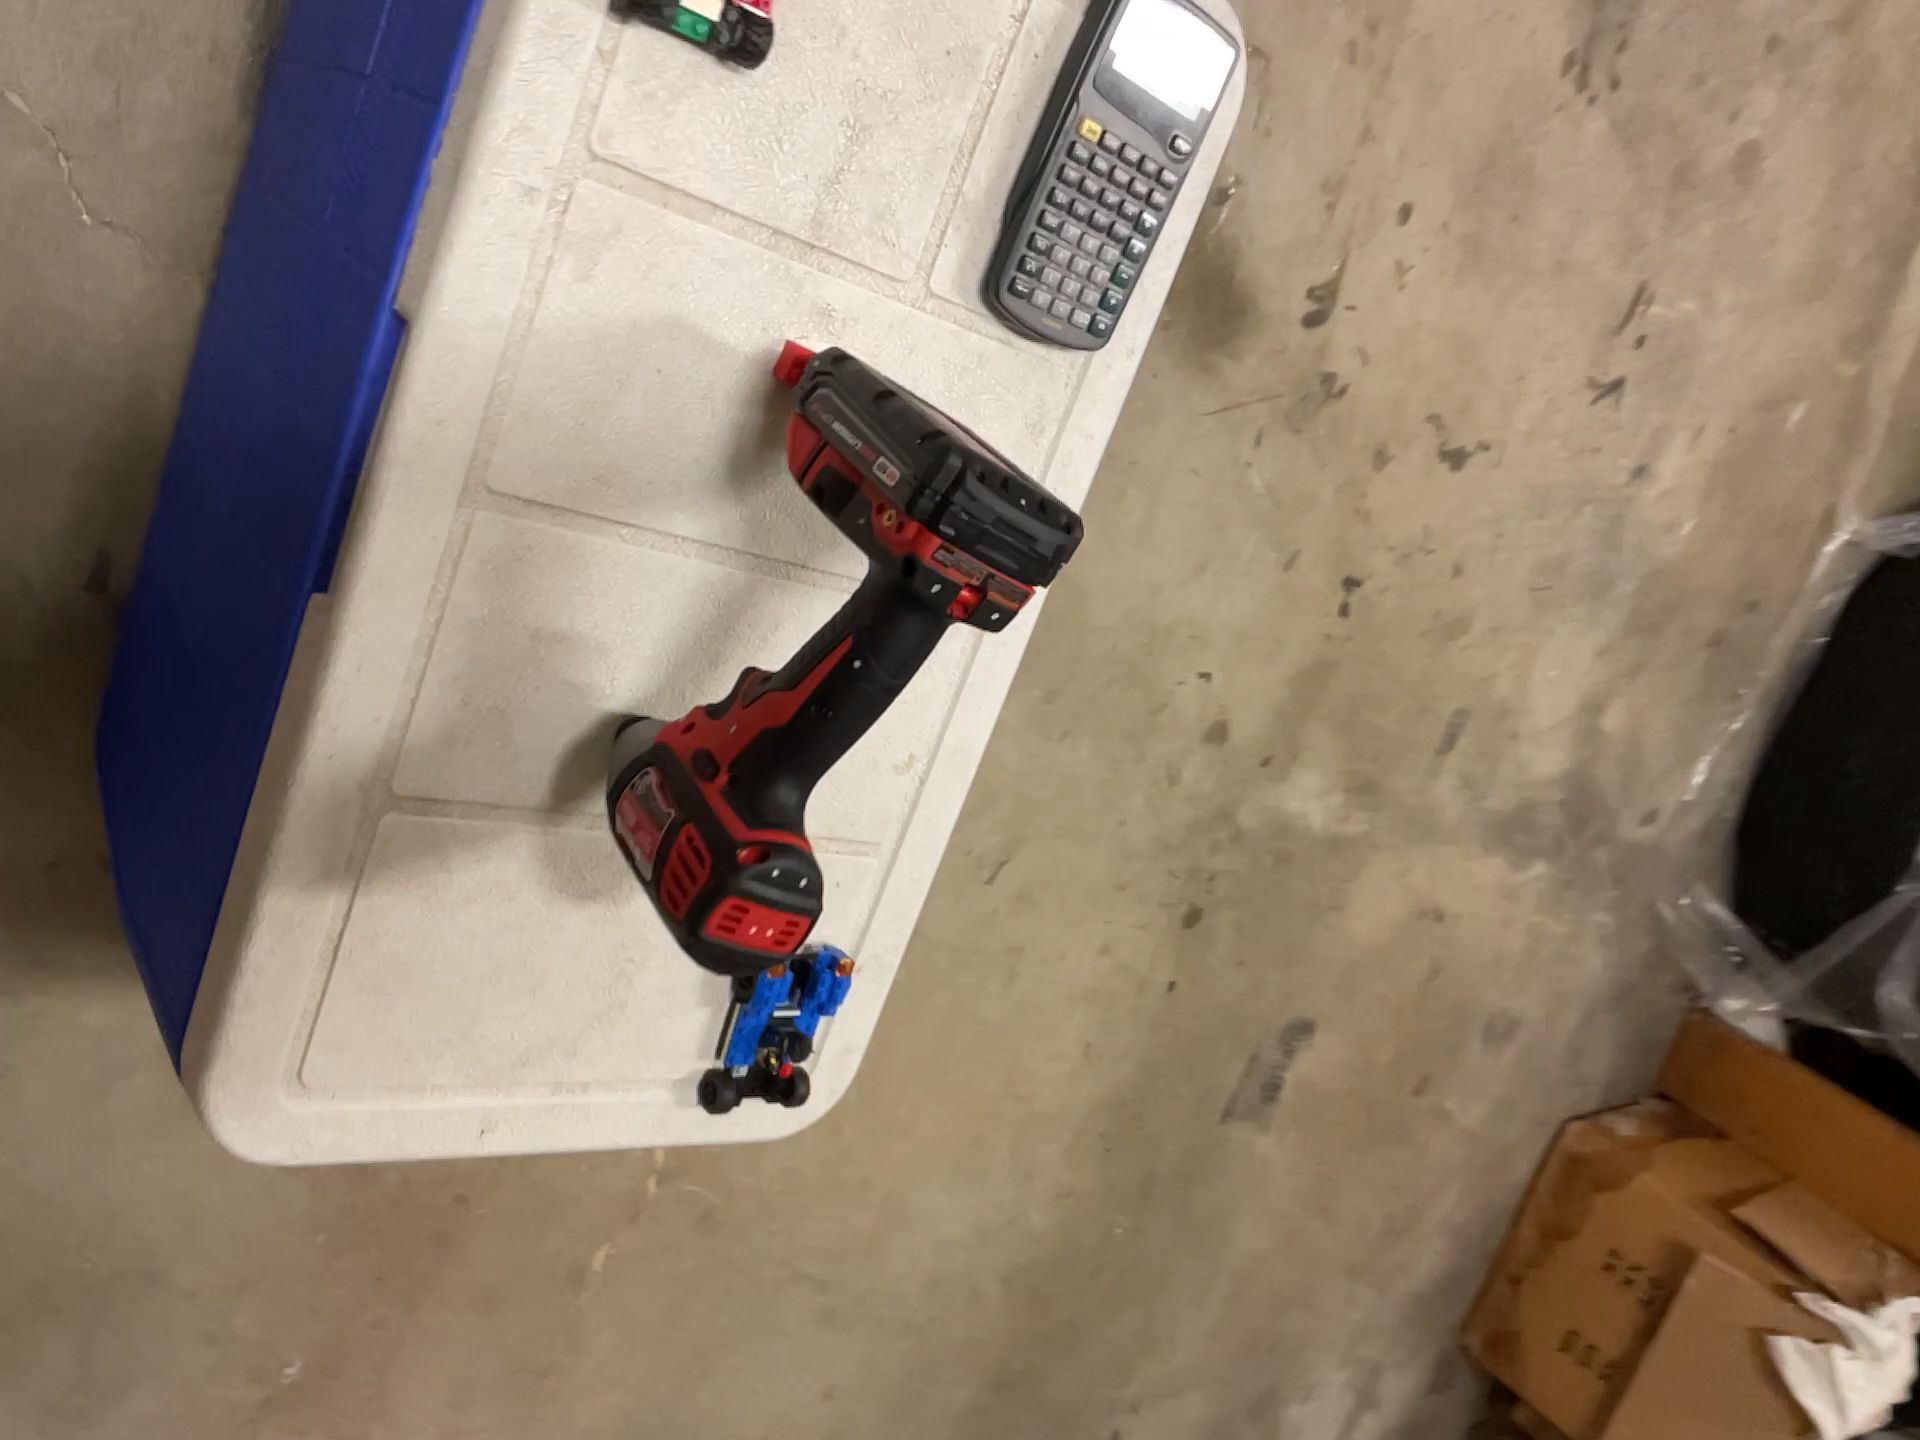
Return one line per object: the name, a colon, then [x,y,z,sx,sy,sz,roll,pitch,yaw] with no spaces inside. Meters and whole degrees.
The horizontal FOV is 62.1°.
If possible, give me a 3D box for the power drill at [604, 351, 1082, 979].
power drill: [-0.064,-0.023,0.626,0.078,0.143,0.219,24,105,-42]
